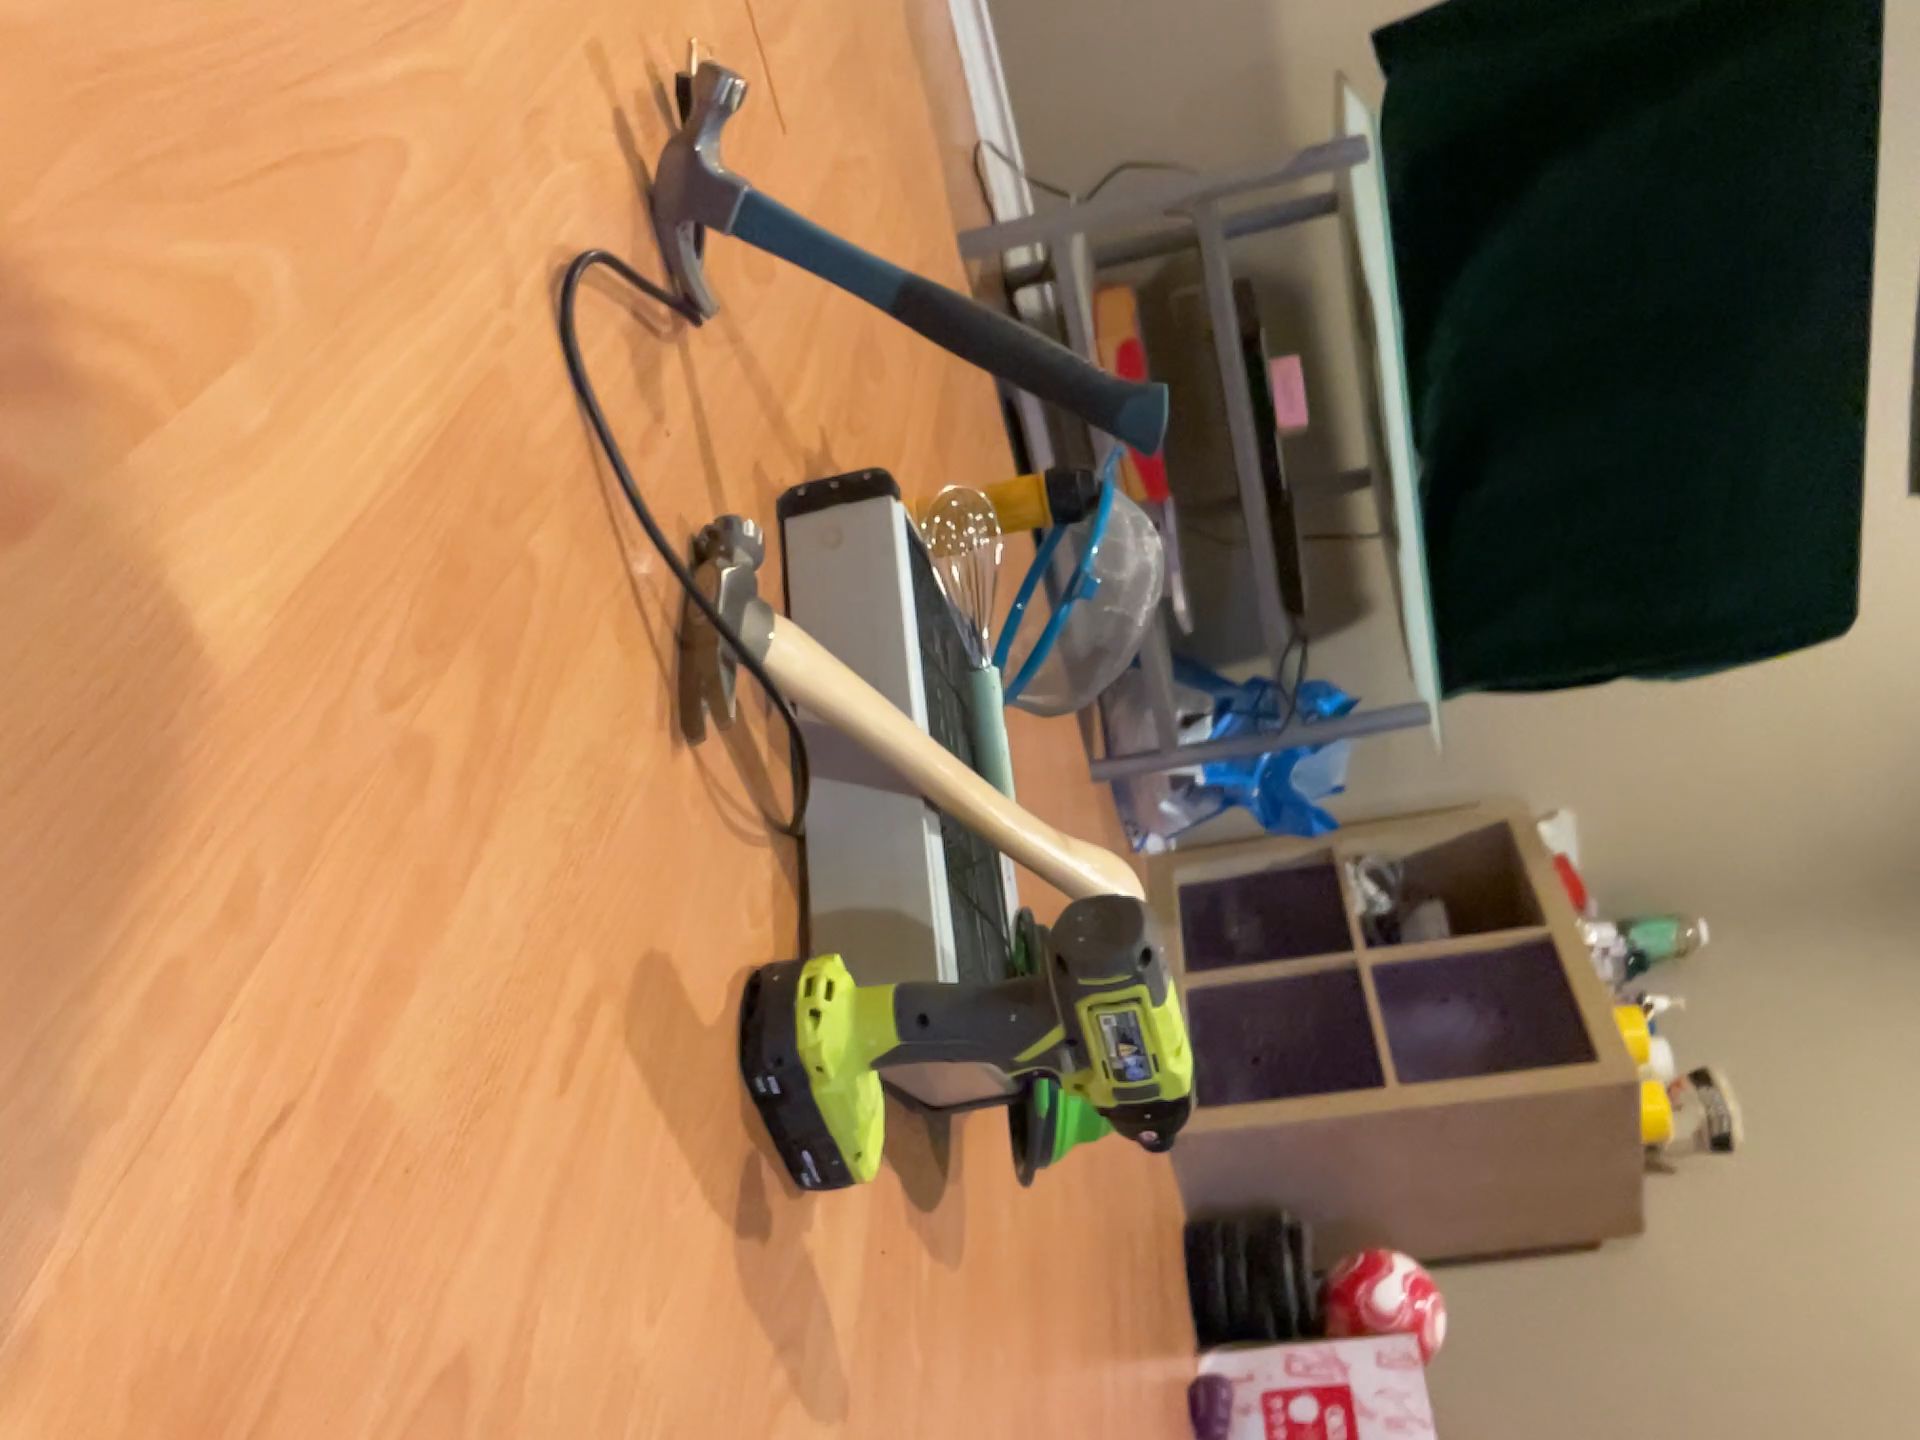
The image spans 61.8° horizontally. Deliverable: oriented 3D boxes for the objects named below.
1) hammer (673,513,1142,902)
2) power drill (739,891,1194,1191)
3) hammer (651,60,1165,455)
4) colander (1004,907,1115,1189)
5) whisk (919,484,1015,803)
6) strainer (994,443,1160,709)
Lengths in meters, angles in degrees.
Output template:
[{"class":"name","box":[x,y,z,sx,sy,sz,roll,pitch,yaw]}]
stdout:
[{"class":"hammer","box":[-0.013,0.042,0.966,0.410,0.038,0.146,38,36,-38]},{"class":"power drill","box":[0.010,0.182,0.858,0.080,0.223,0.171,-86,163,-53]},{"class":"hammer","box":[-0.025,-0.246,0.936,0.128,0.331,0.033,-61,-172,25]},{"class":"colander","box":[0.080,0.263,1.271,0.397,0.094,0.204,105,-15,-74]},{"class":"whisk","box":[0.013,-0.046,1.148,0.058,0.059,0.246,-164,-117,-68]},{"class":"strainer","box":[0.080,-0.048,1.333,0.211,0.095,0.340,-74,-171,-46]}]
